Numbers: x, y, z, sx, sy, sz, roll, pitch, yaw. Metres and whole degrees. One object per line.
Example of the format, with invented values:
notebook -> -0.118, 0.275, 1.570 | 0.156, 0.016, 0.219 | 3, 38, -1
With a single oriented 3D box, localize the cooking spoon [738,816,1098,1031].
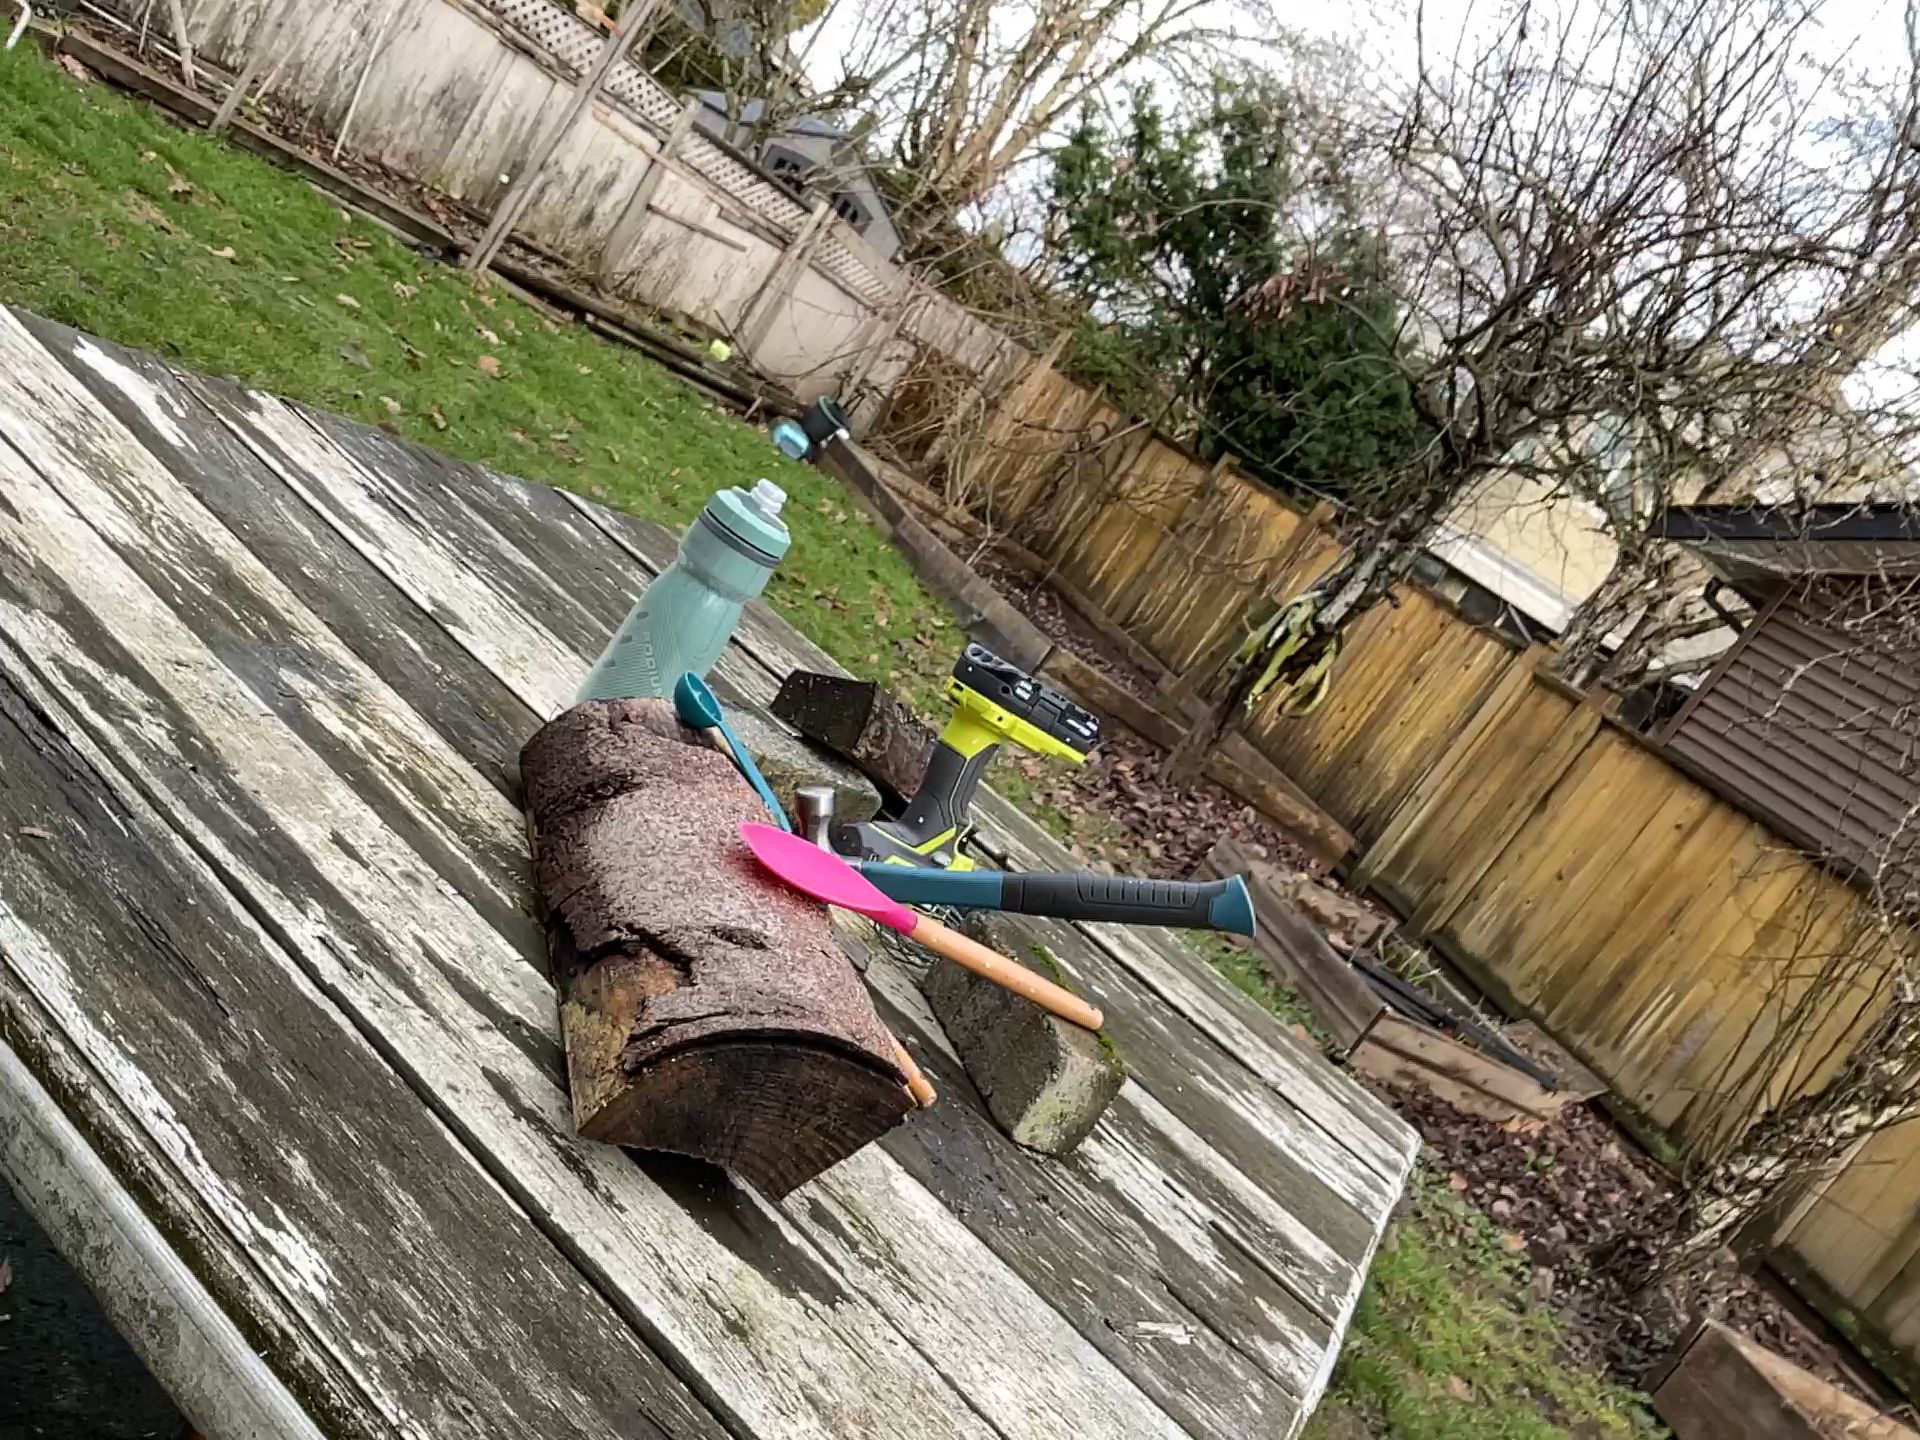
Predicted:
cooking spoon -> -0.016, 0.134, 0.991 | 0.318, 0.017, 0.069 | 34, 8, -36

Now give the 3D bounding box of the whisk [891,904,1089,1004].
whisk -> 0.027, 0.189, 1.261 | 0.238, 0.055, 0.055 | 32, 18, -39

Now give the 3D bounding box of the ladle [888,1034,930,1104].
ladle -> -0.114, 0.145, 1.088 | 0.316, 0.031, 0.069 | 45, 11, 35

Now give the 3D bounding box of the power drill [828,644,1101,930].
power drill -> 0.010, 0.067, 1.298 | 0.171, 0.223, 0.080 | 30, 4, -37

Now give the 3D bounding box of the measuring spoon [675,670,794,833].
measuring spoon -> -0.154, 0.025, 1.064 | 0.128, 0.021, 0.042 | 57, 9, -3

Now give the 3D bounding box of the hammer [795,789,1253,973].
hammer -> 0.044, 0.124, 1.139 | 0.331, 0.128, 0.033 | 4, 12, 3
